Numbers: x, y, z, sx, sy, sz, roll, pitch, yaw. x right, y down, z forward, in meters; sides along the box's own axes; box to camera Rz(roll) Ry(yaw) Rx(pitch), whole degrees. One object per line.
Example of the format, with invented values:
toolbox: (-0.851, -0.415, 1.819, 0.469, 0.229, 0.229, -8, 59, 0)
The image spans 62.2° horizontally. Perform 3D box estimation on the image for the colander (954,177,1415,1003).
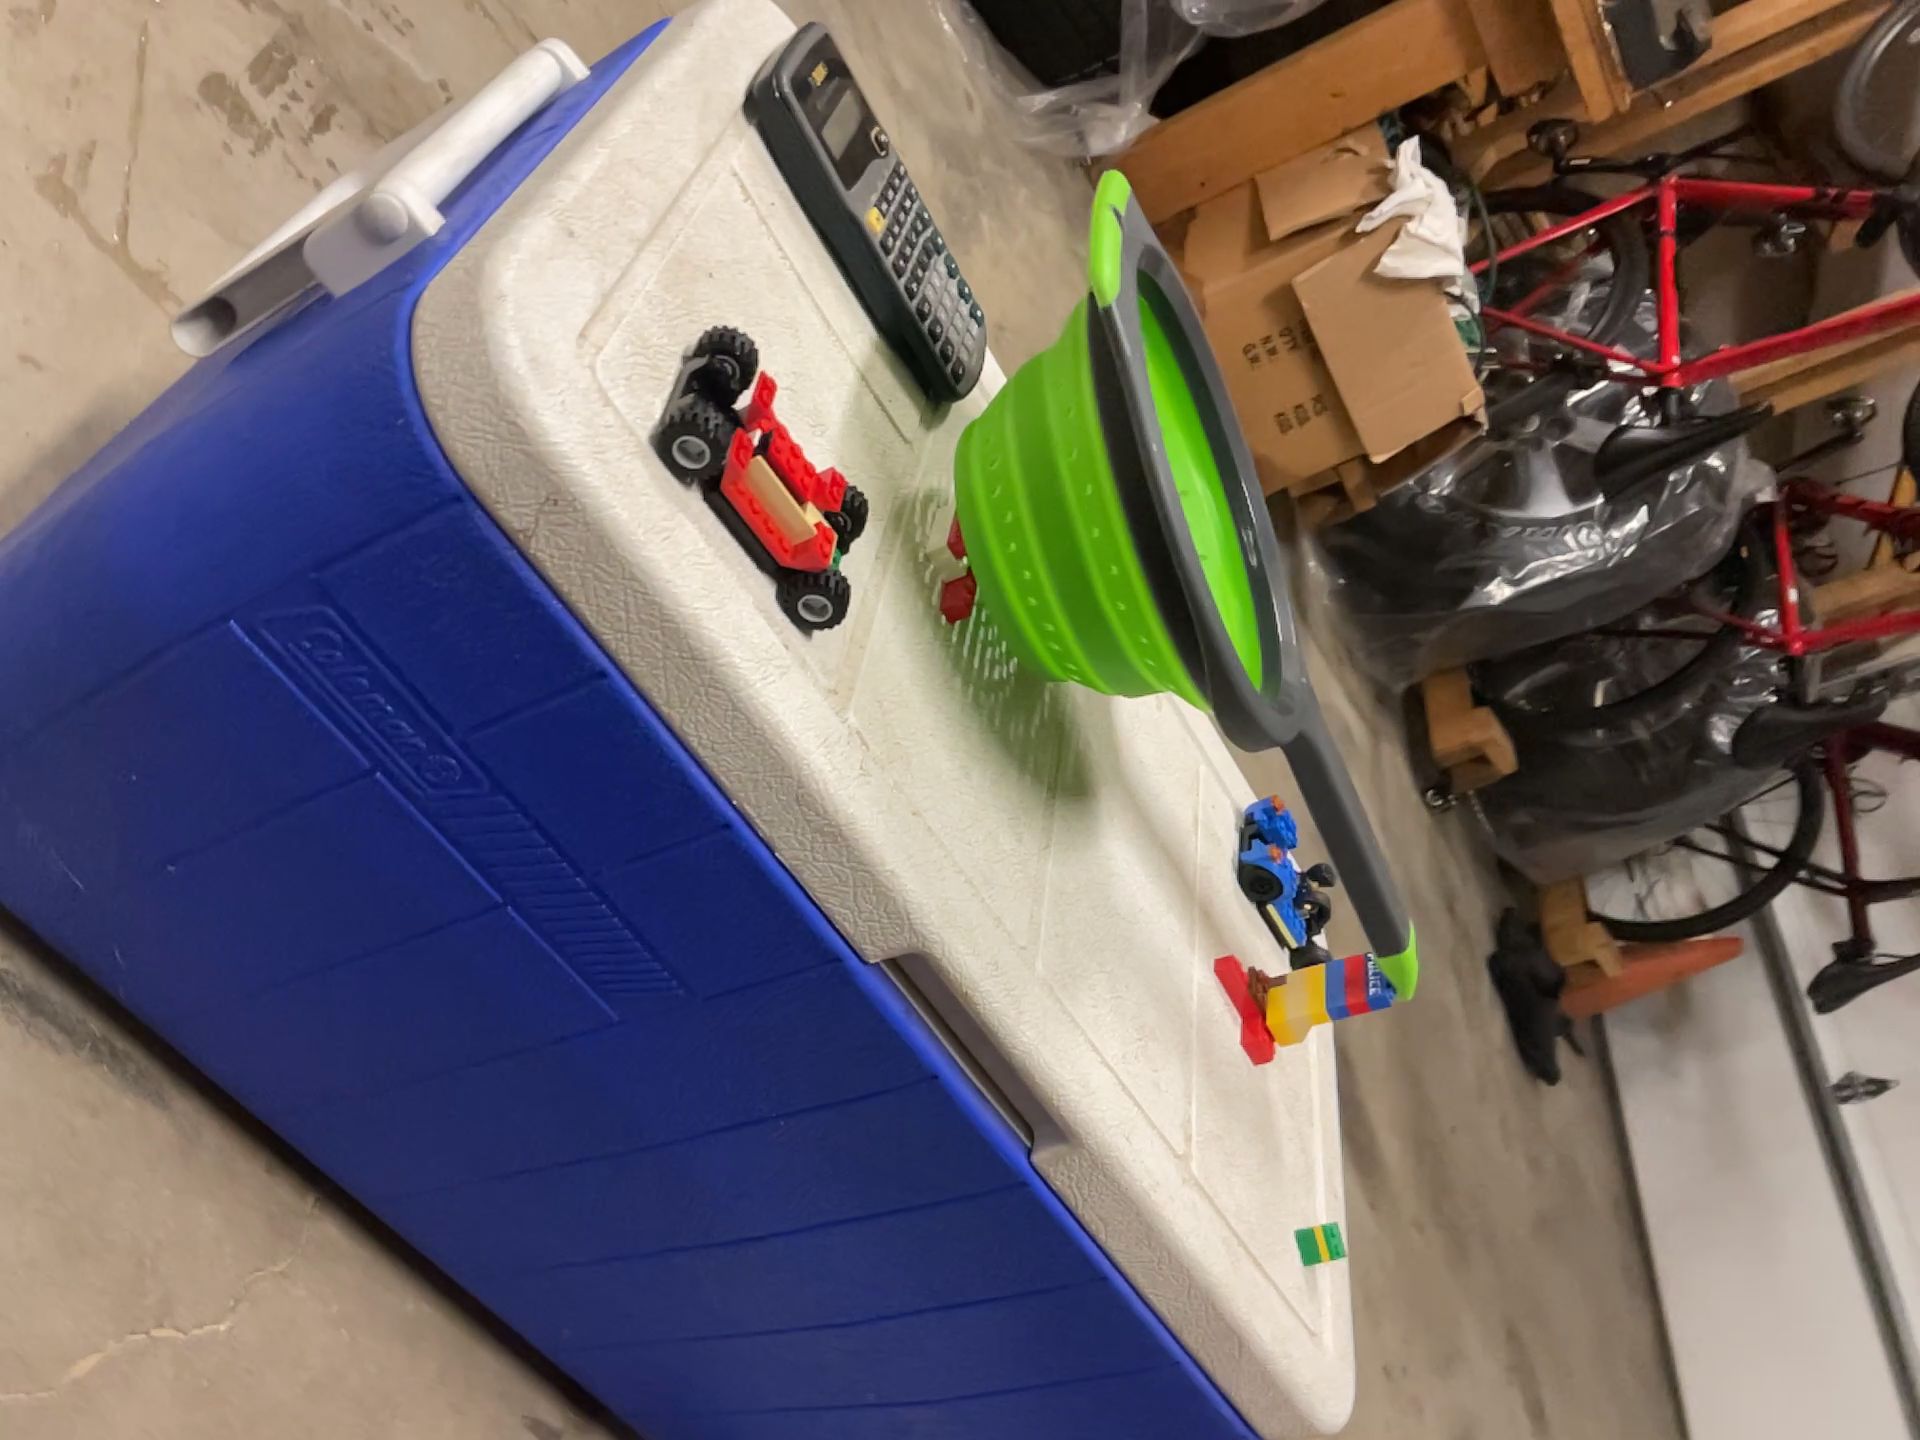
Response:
colander: (0.094, -0.016, 0.665, 0.205, 0.094, 0.396, -80, 147, -53)
